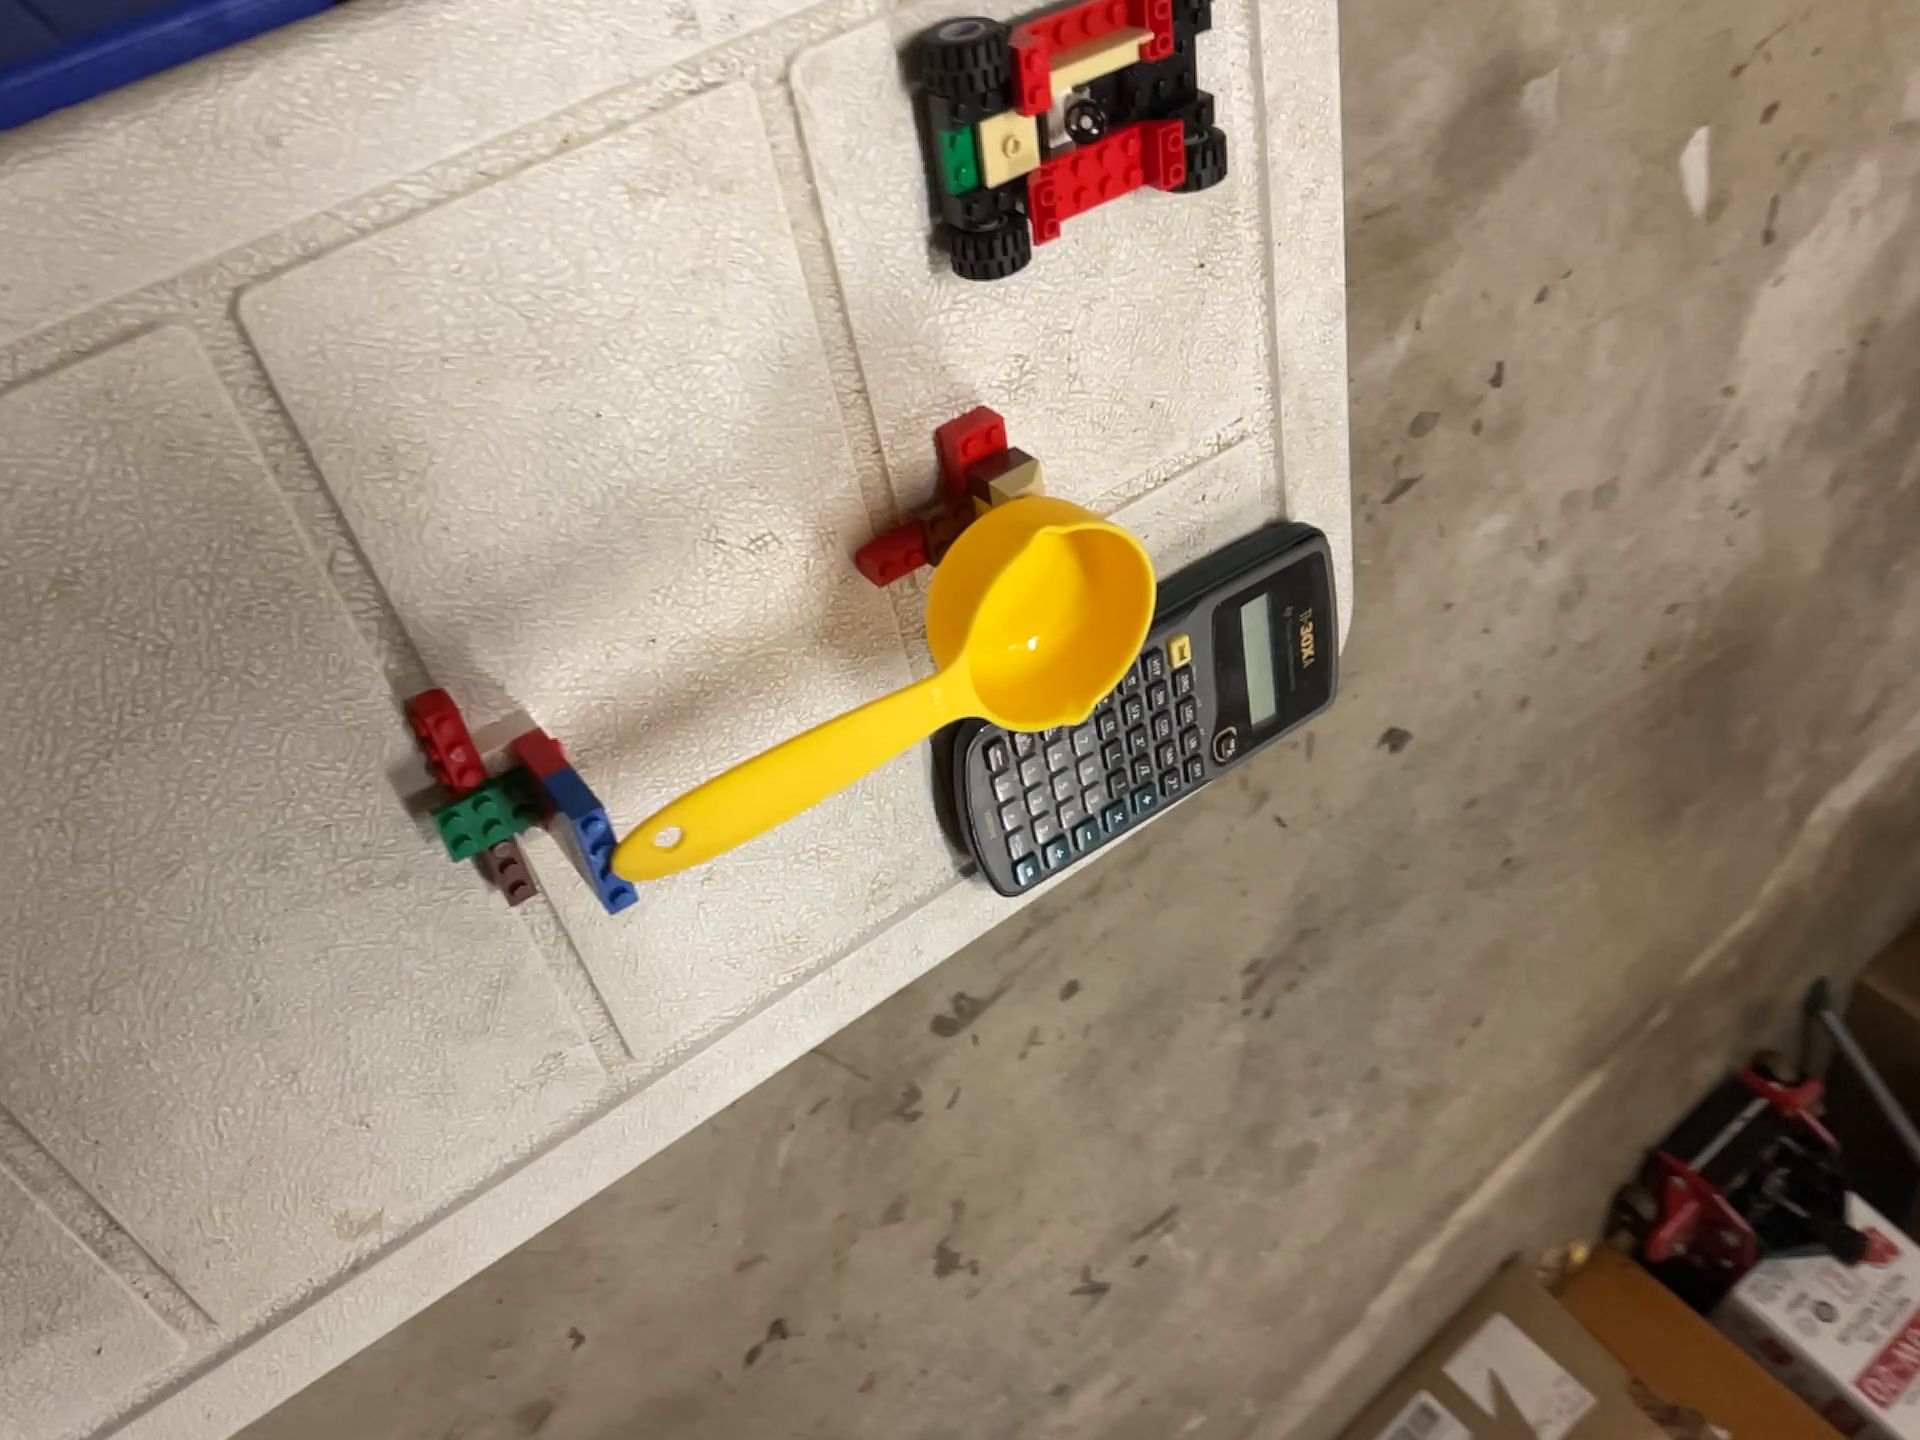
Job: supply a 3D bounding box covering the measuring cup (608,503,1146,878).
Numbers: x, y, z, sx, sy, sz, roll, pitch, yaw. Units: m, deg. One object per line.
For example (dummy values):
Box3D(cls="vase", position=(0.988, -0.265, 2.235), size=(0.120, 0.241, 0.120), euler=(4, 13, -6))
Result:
Box3D(cls="measuring cup", position=(-0.023, -0.007, 0.408), size=(0.156, 0.029, 0.062), euler=(-29, 133, -16))
